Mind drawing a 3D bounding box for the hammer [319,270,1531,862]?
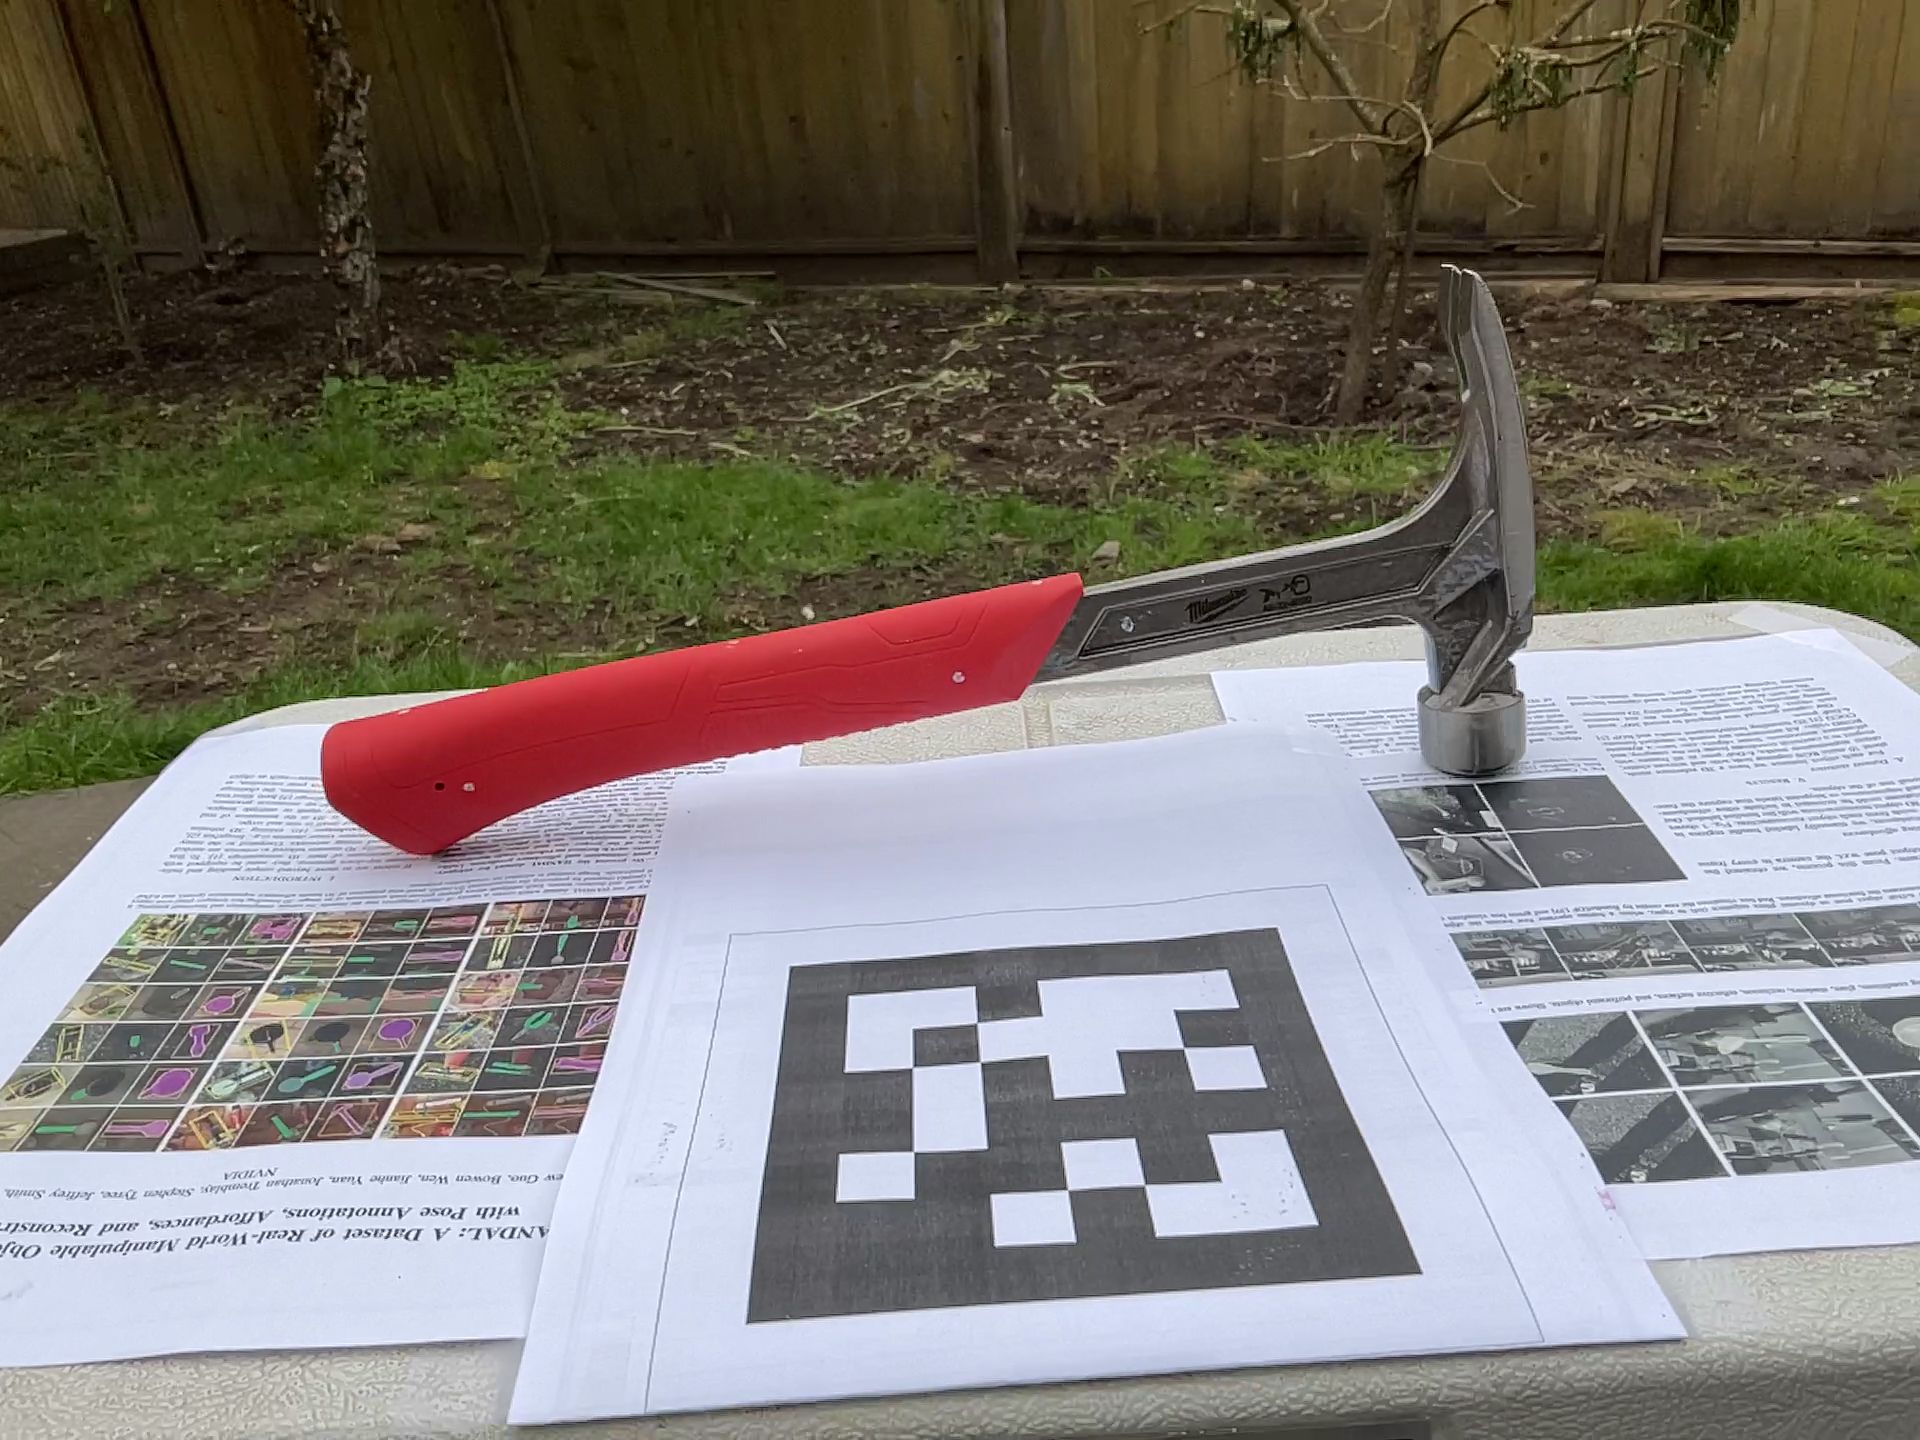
[{"bbox_3d":[-0.012,-0.025,0.476,0.359,0.149,0.037,-11,20,1],"label":"hammer"}]
